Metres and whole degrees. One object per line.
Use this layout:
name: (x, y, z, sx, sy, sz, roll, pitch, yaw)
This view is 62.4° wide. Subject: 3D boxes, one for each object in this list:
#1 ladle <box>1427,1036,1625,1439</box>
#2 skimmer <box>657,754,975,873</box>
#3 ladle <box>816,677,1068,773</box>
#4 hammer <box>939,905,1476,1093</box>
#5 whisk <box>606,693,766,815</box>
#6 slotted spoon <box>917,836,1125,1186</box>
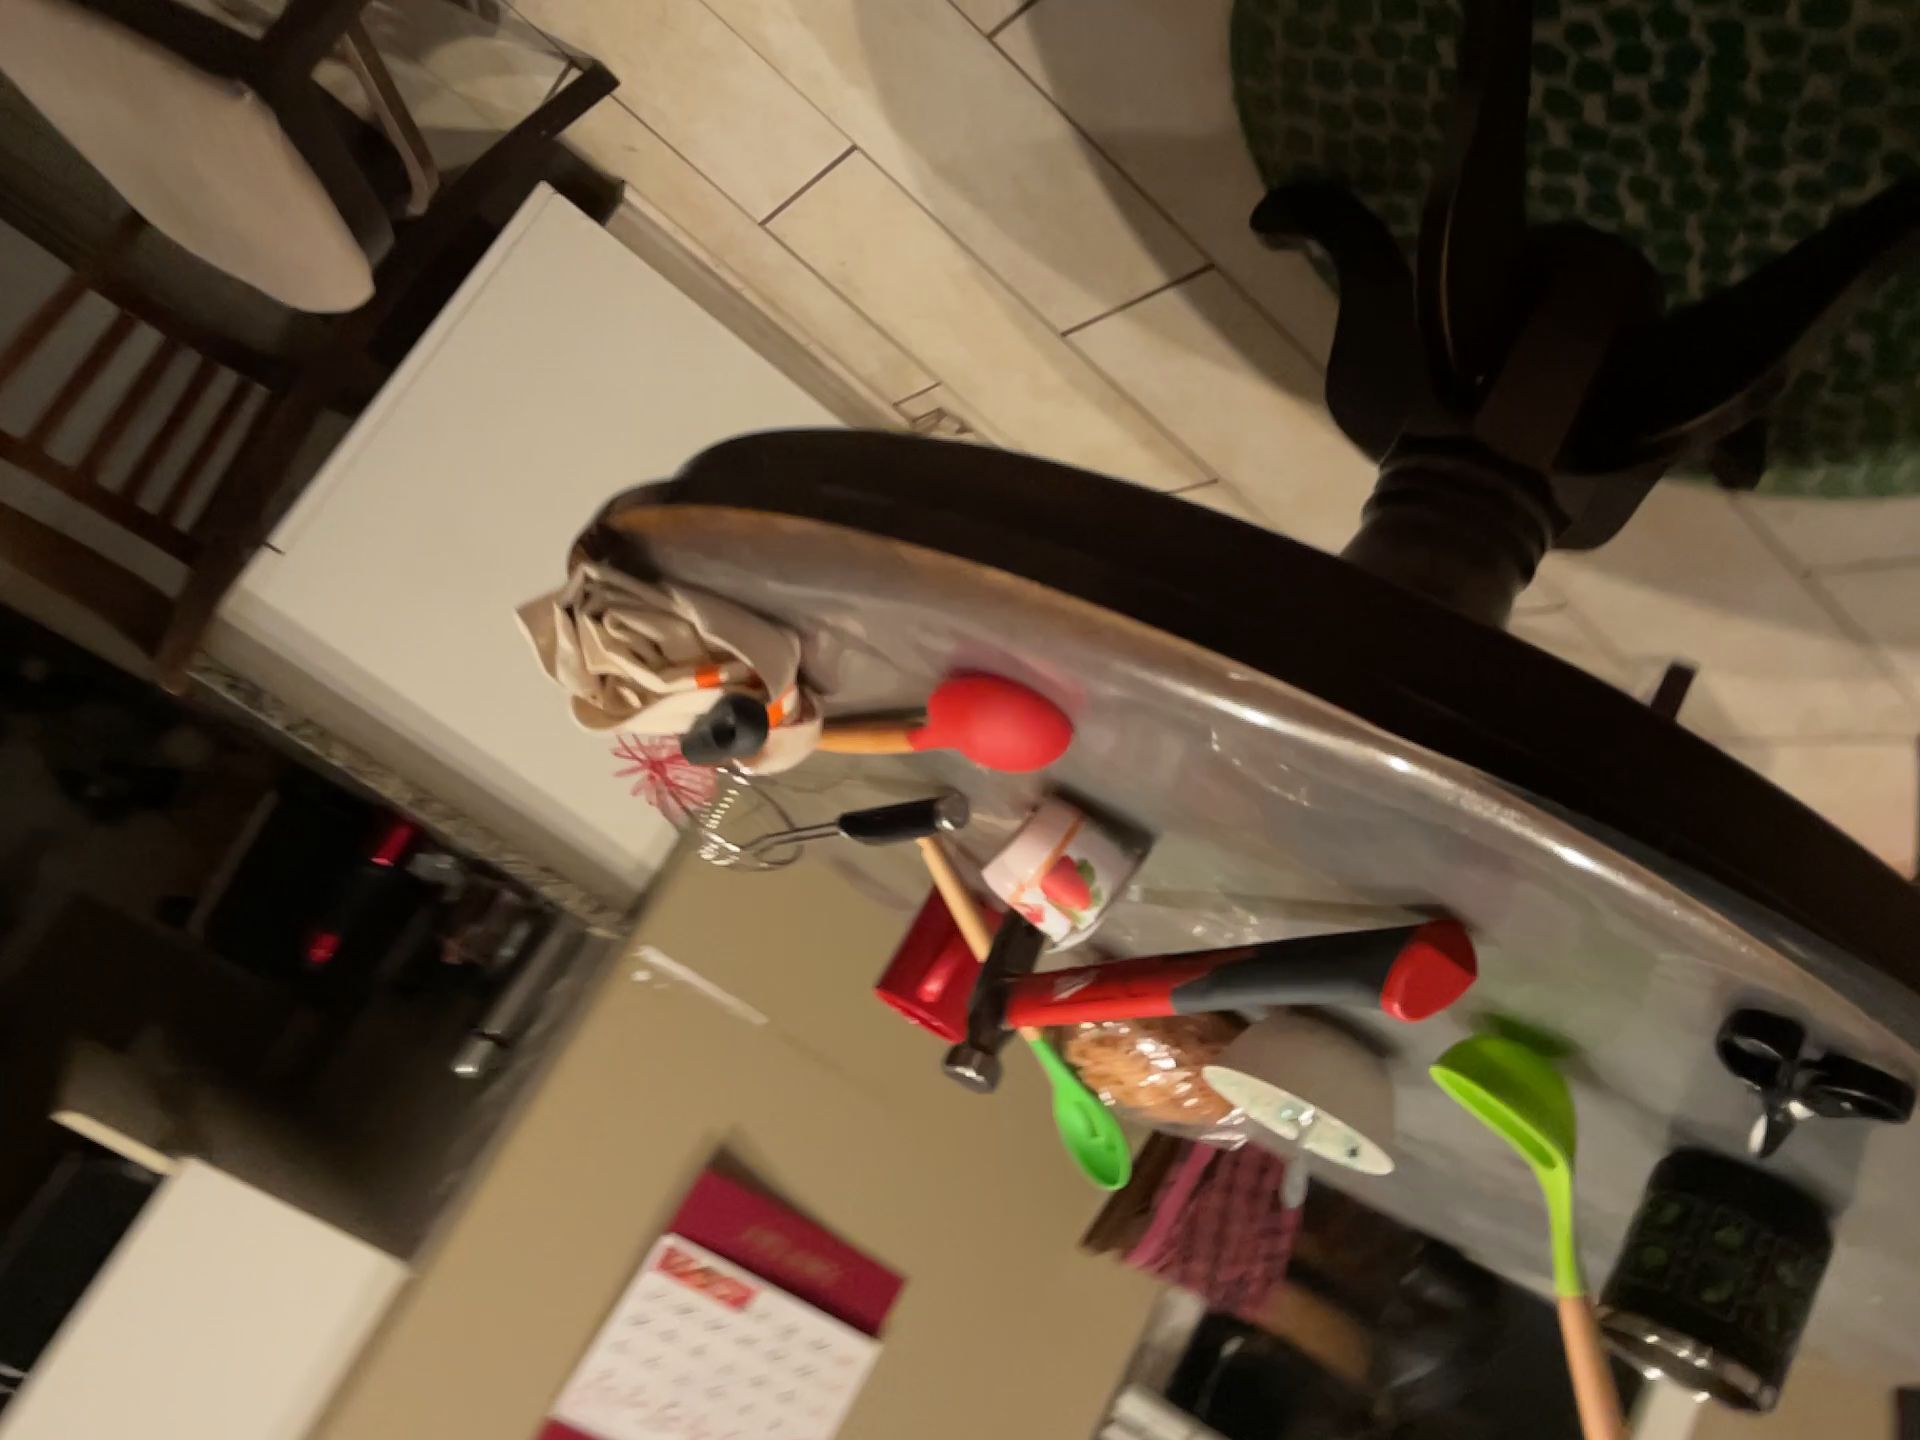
ladle: (0.300, 0.315, 0.790, 0.062, 0.320, 0.078, -12, 177, -4)
skimmer: (-0.098, 0.052, 1.103, 0.127, 0.090, 0.363, 31, 155, -29)
ladle: (-0.034, 0.007, 0.862, 0.069, 0.031, 0.316, 37, 165, -19)
hammer: (0.122, 0.129, 0.862, 0.038, 0.143, 0.386, 36, 152, -20)
whisk: (-0.158, 0.015, 0.927, 0.073, 0.073, 0.296, 36, 163, -13)
slotted spoon: (0.042, 0.199, 1.110, 0.070, 0.031, 0.313, 0, 123, 53)
